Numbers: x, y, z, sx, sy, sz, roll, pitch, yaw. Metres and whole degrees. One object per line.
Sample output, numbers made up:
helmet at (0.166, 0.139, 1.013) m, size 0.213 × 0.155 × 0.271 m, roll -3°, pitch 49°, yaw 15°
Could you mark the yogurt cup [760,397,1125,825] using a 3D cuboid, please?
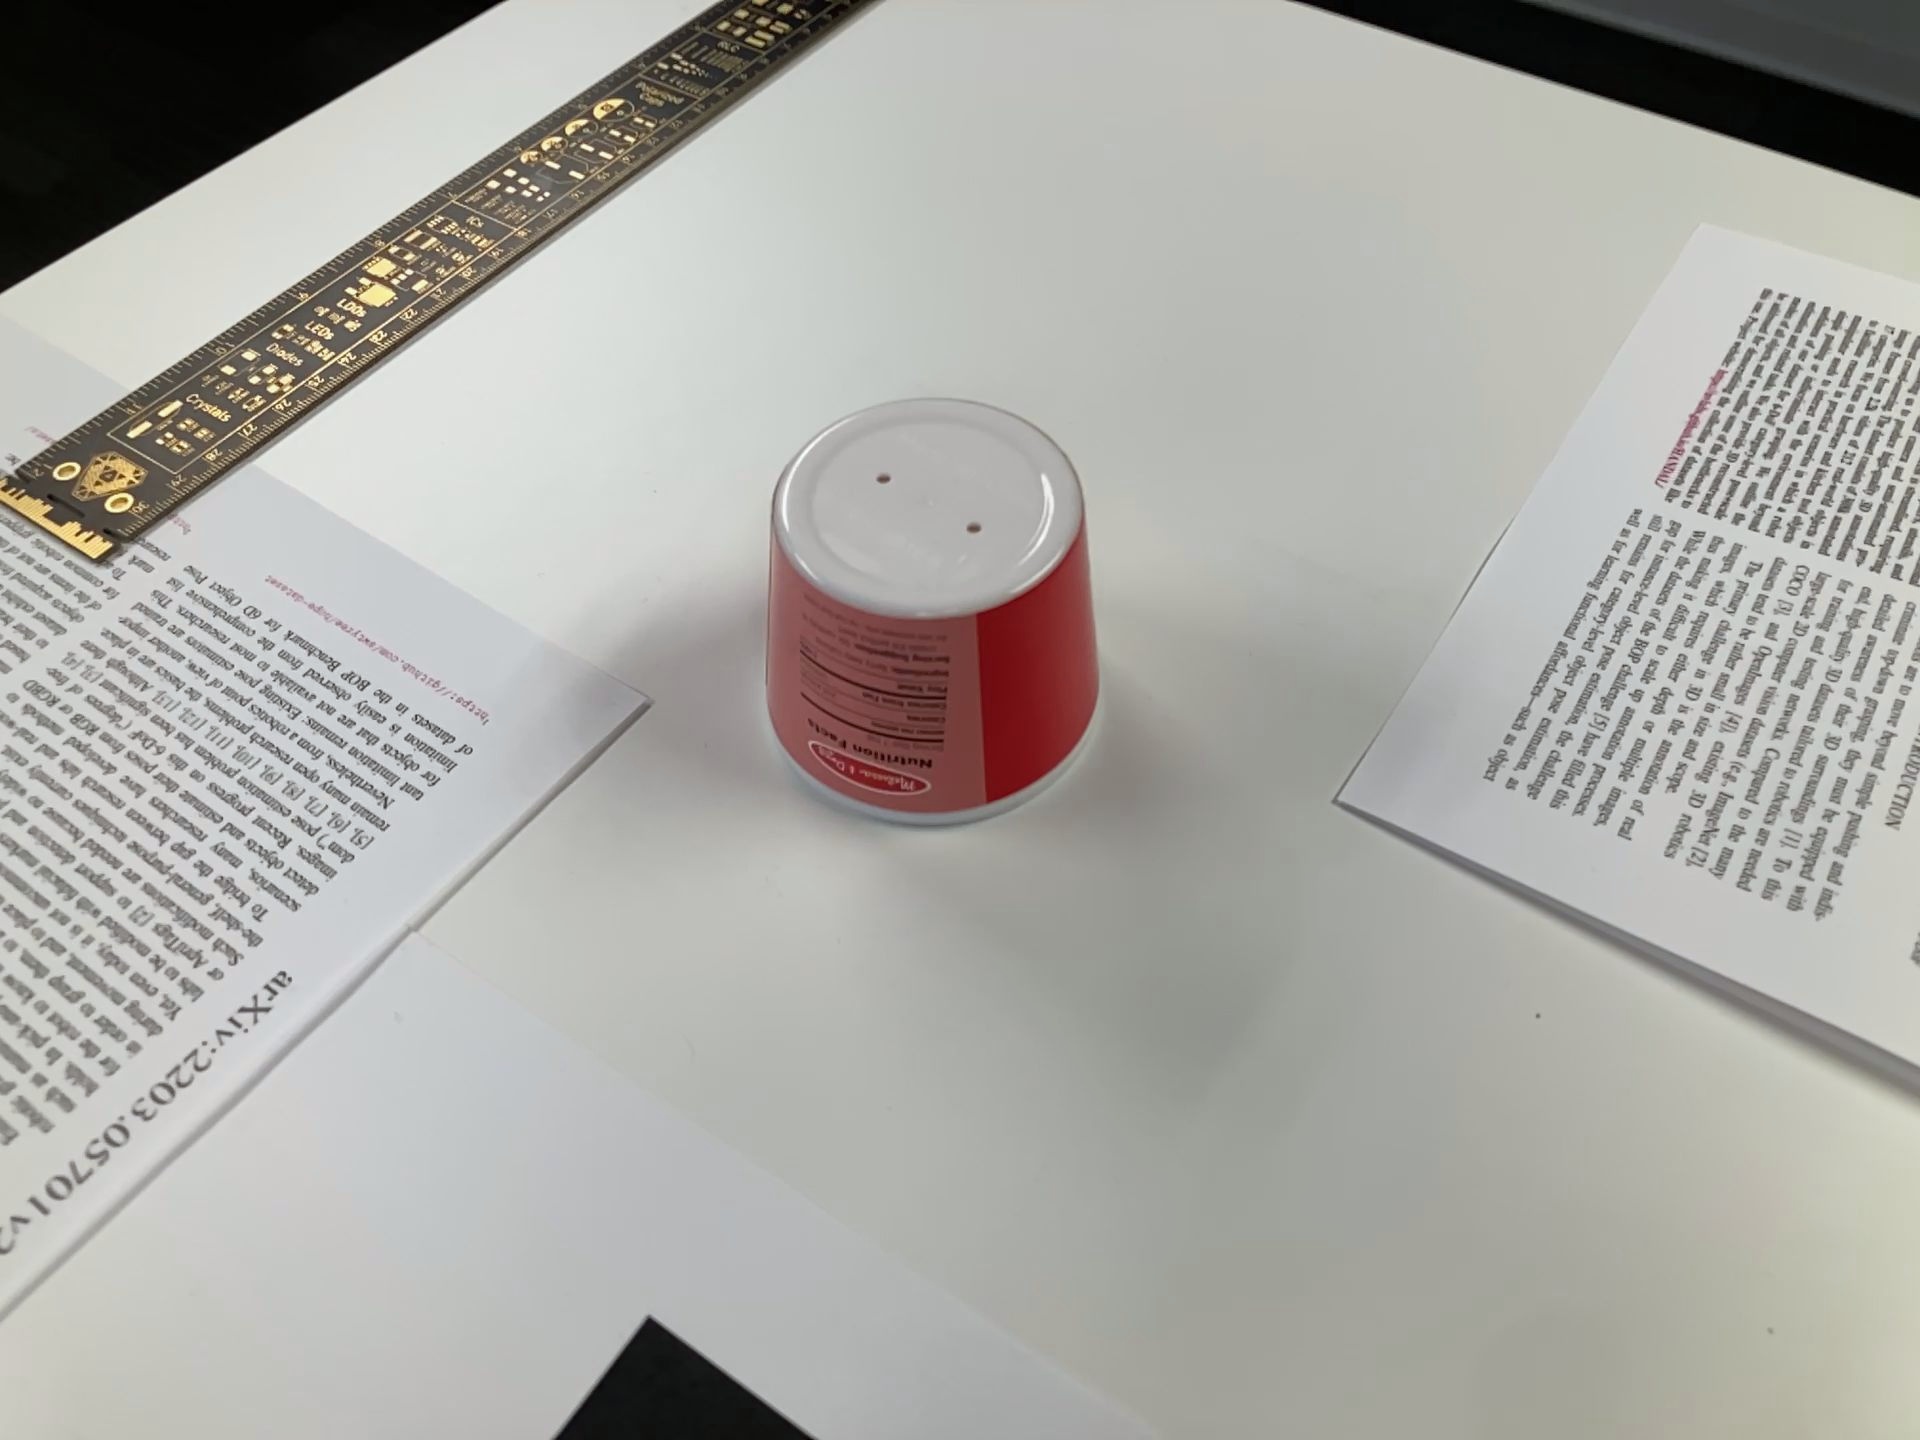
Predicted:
yogurt cup at (-0.005, -0.023, 0.295) m, size 0.072 × 0.054 × 0.072 m, roll 0°, pitch 53°, yaw 0°
